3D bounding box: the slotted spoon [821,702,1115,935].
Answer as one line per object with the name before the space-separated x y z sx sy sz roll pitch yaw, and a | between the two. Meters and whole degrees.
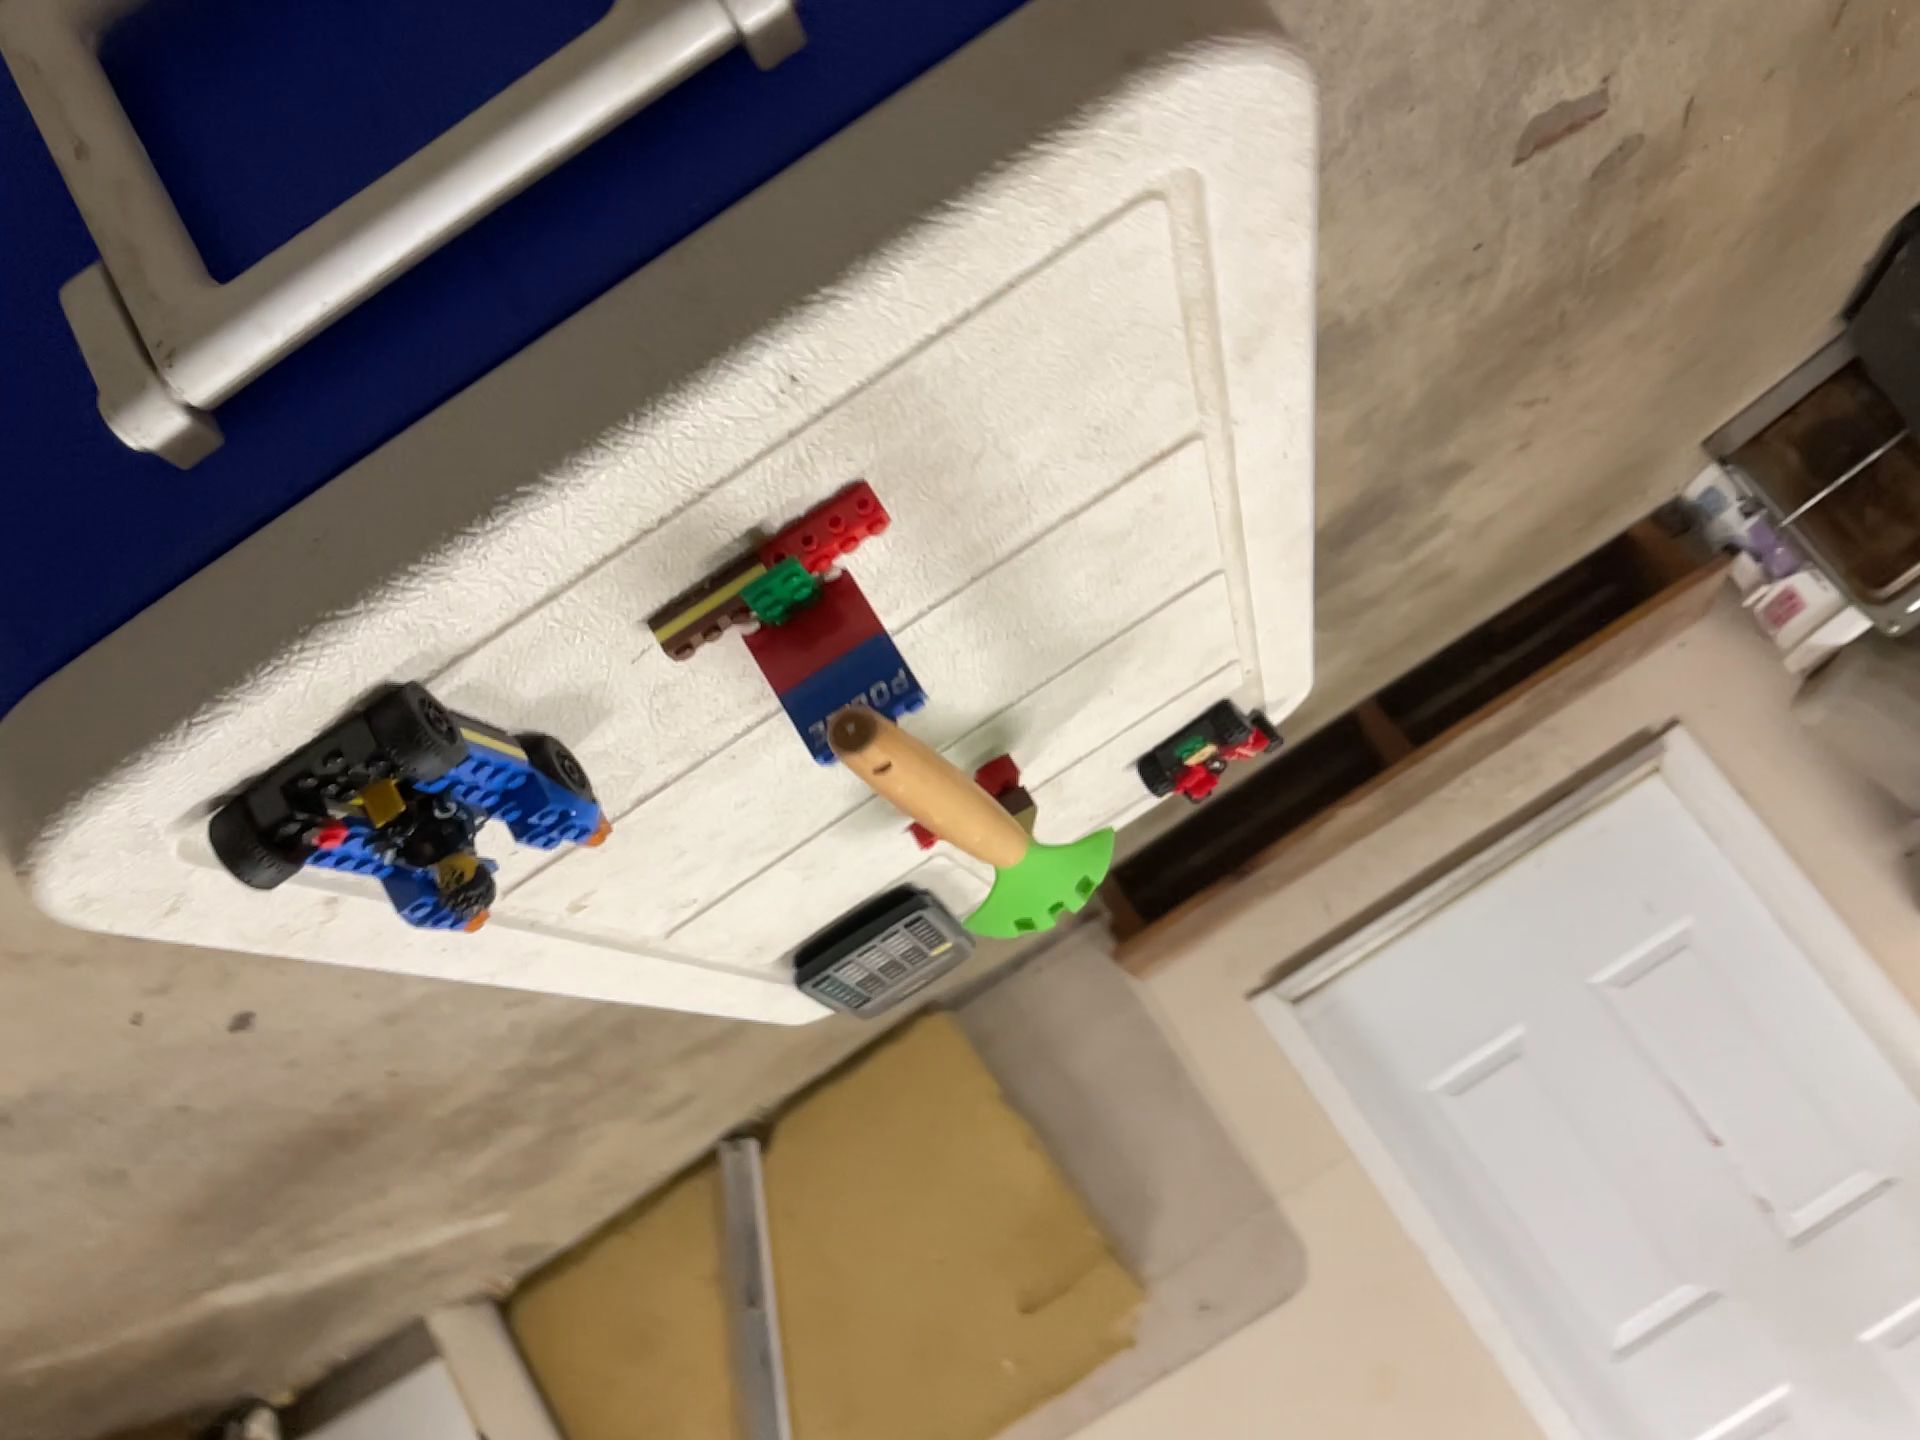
slotted spoon | 0.007 0.036 0.500 0.070 0.031 0.313 -33 163 3
